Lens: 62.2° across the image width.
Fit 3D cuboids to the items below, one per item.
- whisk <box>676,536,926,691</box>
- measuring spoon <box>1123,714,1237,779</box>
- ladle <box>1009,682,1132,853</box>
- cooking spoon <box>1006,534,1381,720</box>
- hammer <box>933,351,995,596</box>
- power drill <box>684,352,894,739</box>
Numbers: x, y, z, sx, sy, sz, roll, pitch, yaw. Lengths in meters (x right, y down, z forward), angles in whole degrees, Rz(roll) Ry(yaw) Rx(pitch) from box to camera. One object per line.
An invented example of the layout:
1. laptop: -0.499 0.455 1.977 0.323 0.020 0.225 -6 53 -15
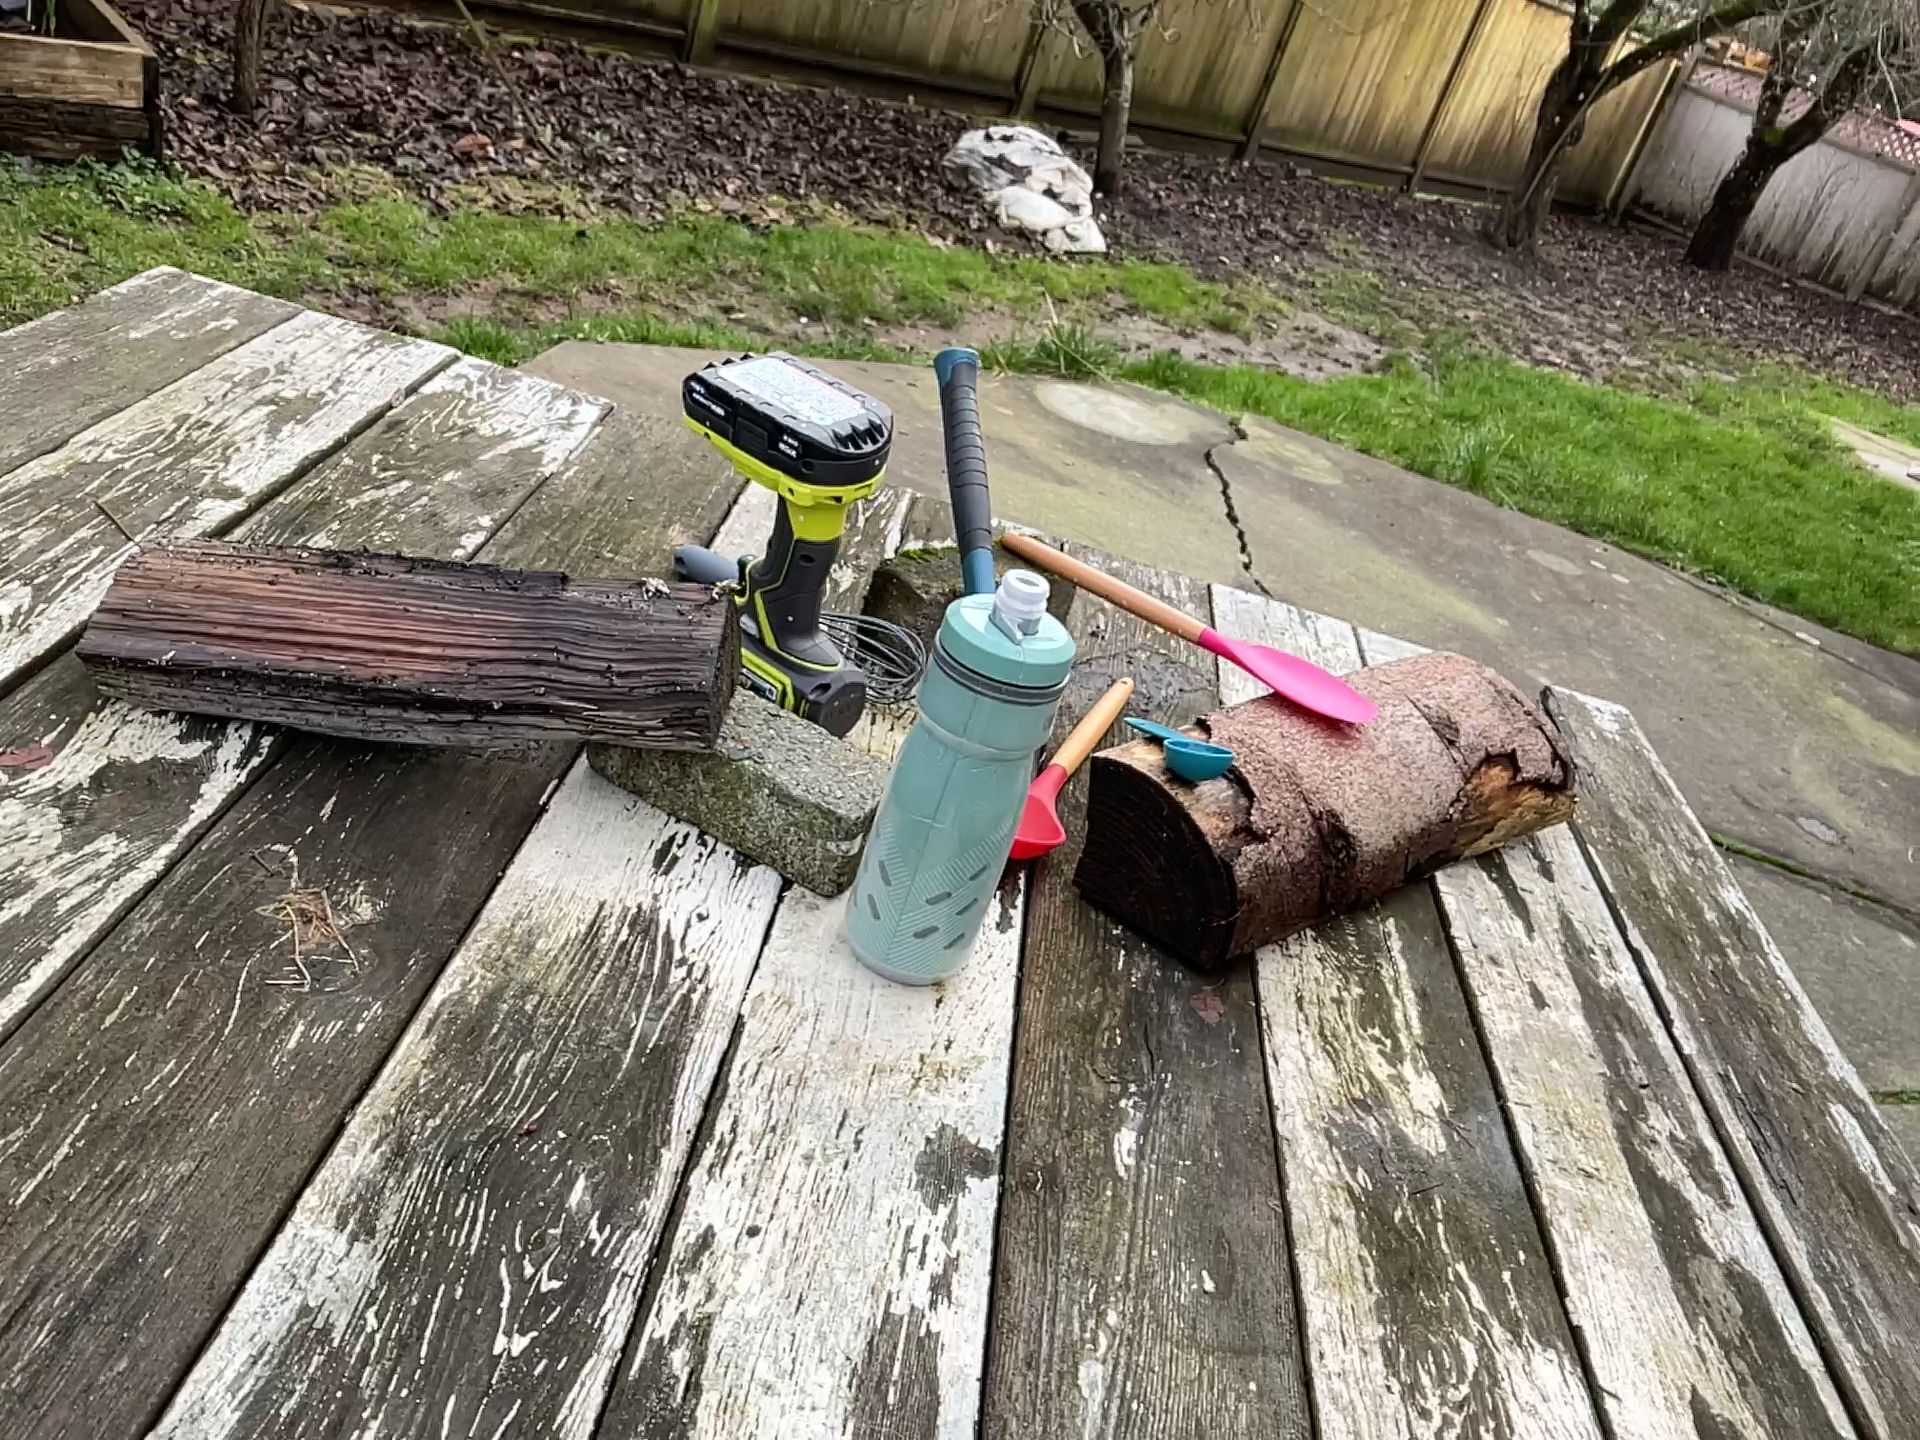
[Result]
1. whisk: -0.119 -0.083 1.155 0.239 0.055 0.055 30 22 27
2. measuring spoon: 0.129 0.017 0.990 0.042 0.021 0.129 7 8 -19
3. ladle: 0.074 0.026 1.105 0.069 0.031 0.315 22 26 13
4. cooking spoon: 0.159 -0.070 1.156 0.319 0.017 0.068 30 31 30
5. hammer: 0.011 -0.127 1.132 0.033 0.128 0.331 7 61 -24
6. power drill: -0.126 -0.113 1.030 0.171 0.223 0.080 32 38 27
